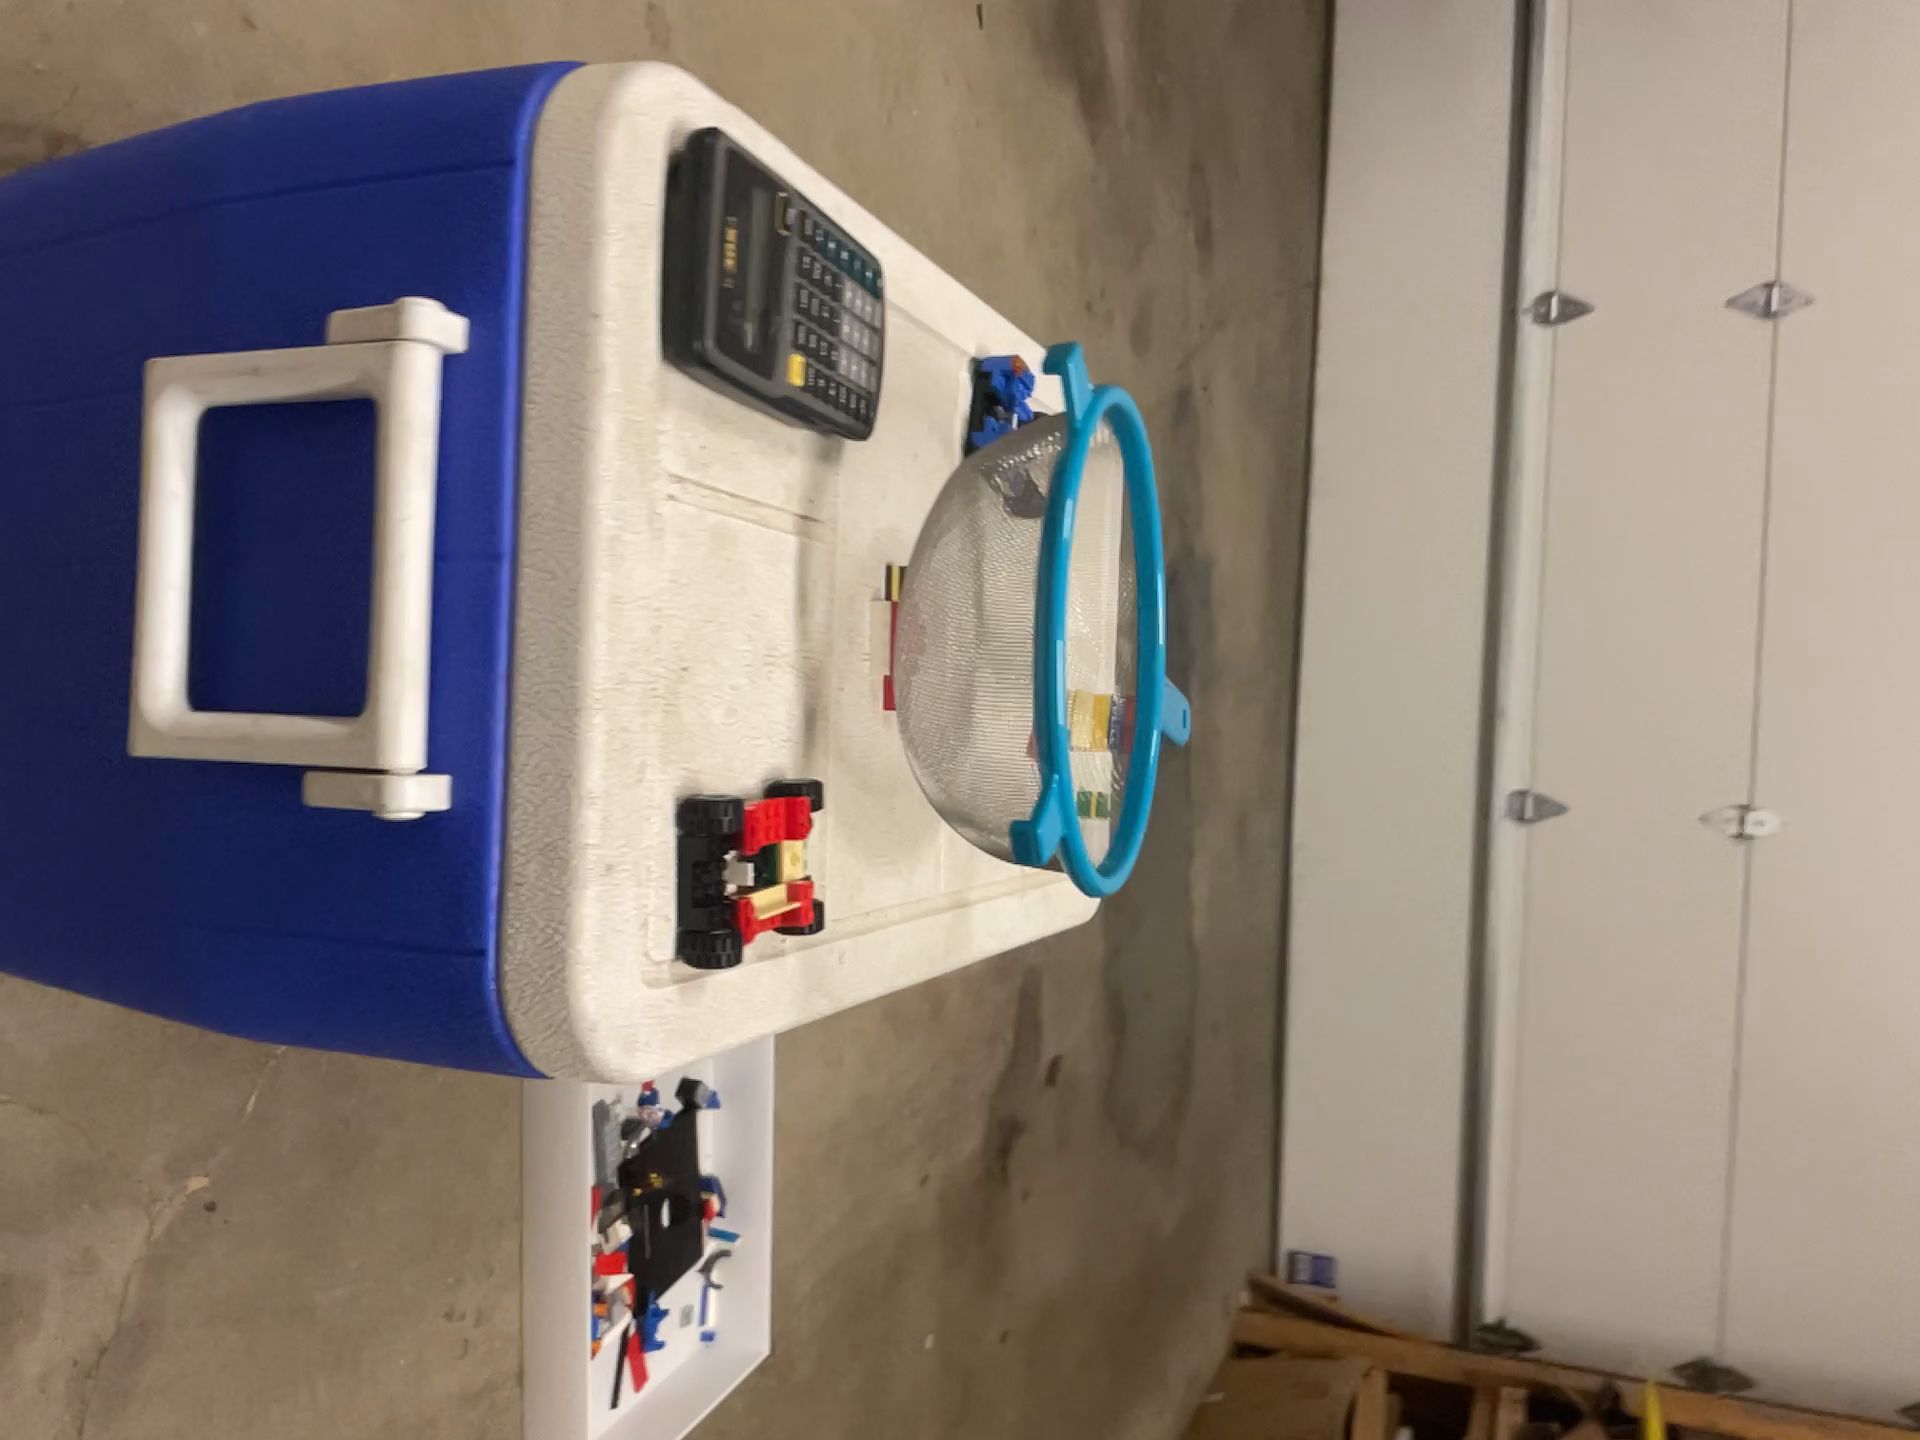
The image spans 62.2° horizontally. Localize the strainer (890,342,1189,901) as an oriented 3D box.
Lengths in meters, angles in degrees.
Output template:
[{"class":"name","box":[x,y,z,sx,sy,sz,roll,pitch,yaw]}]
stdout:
[{"class":"strainer","box":[0.041,-0.023,0.729,0.340,0.095,0.211,29,63,-73]}]
